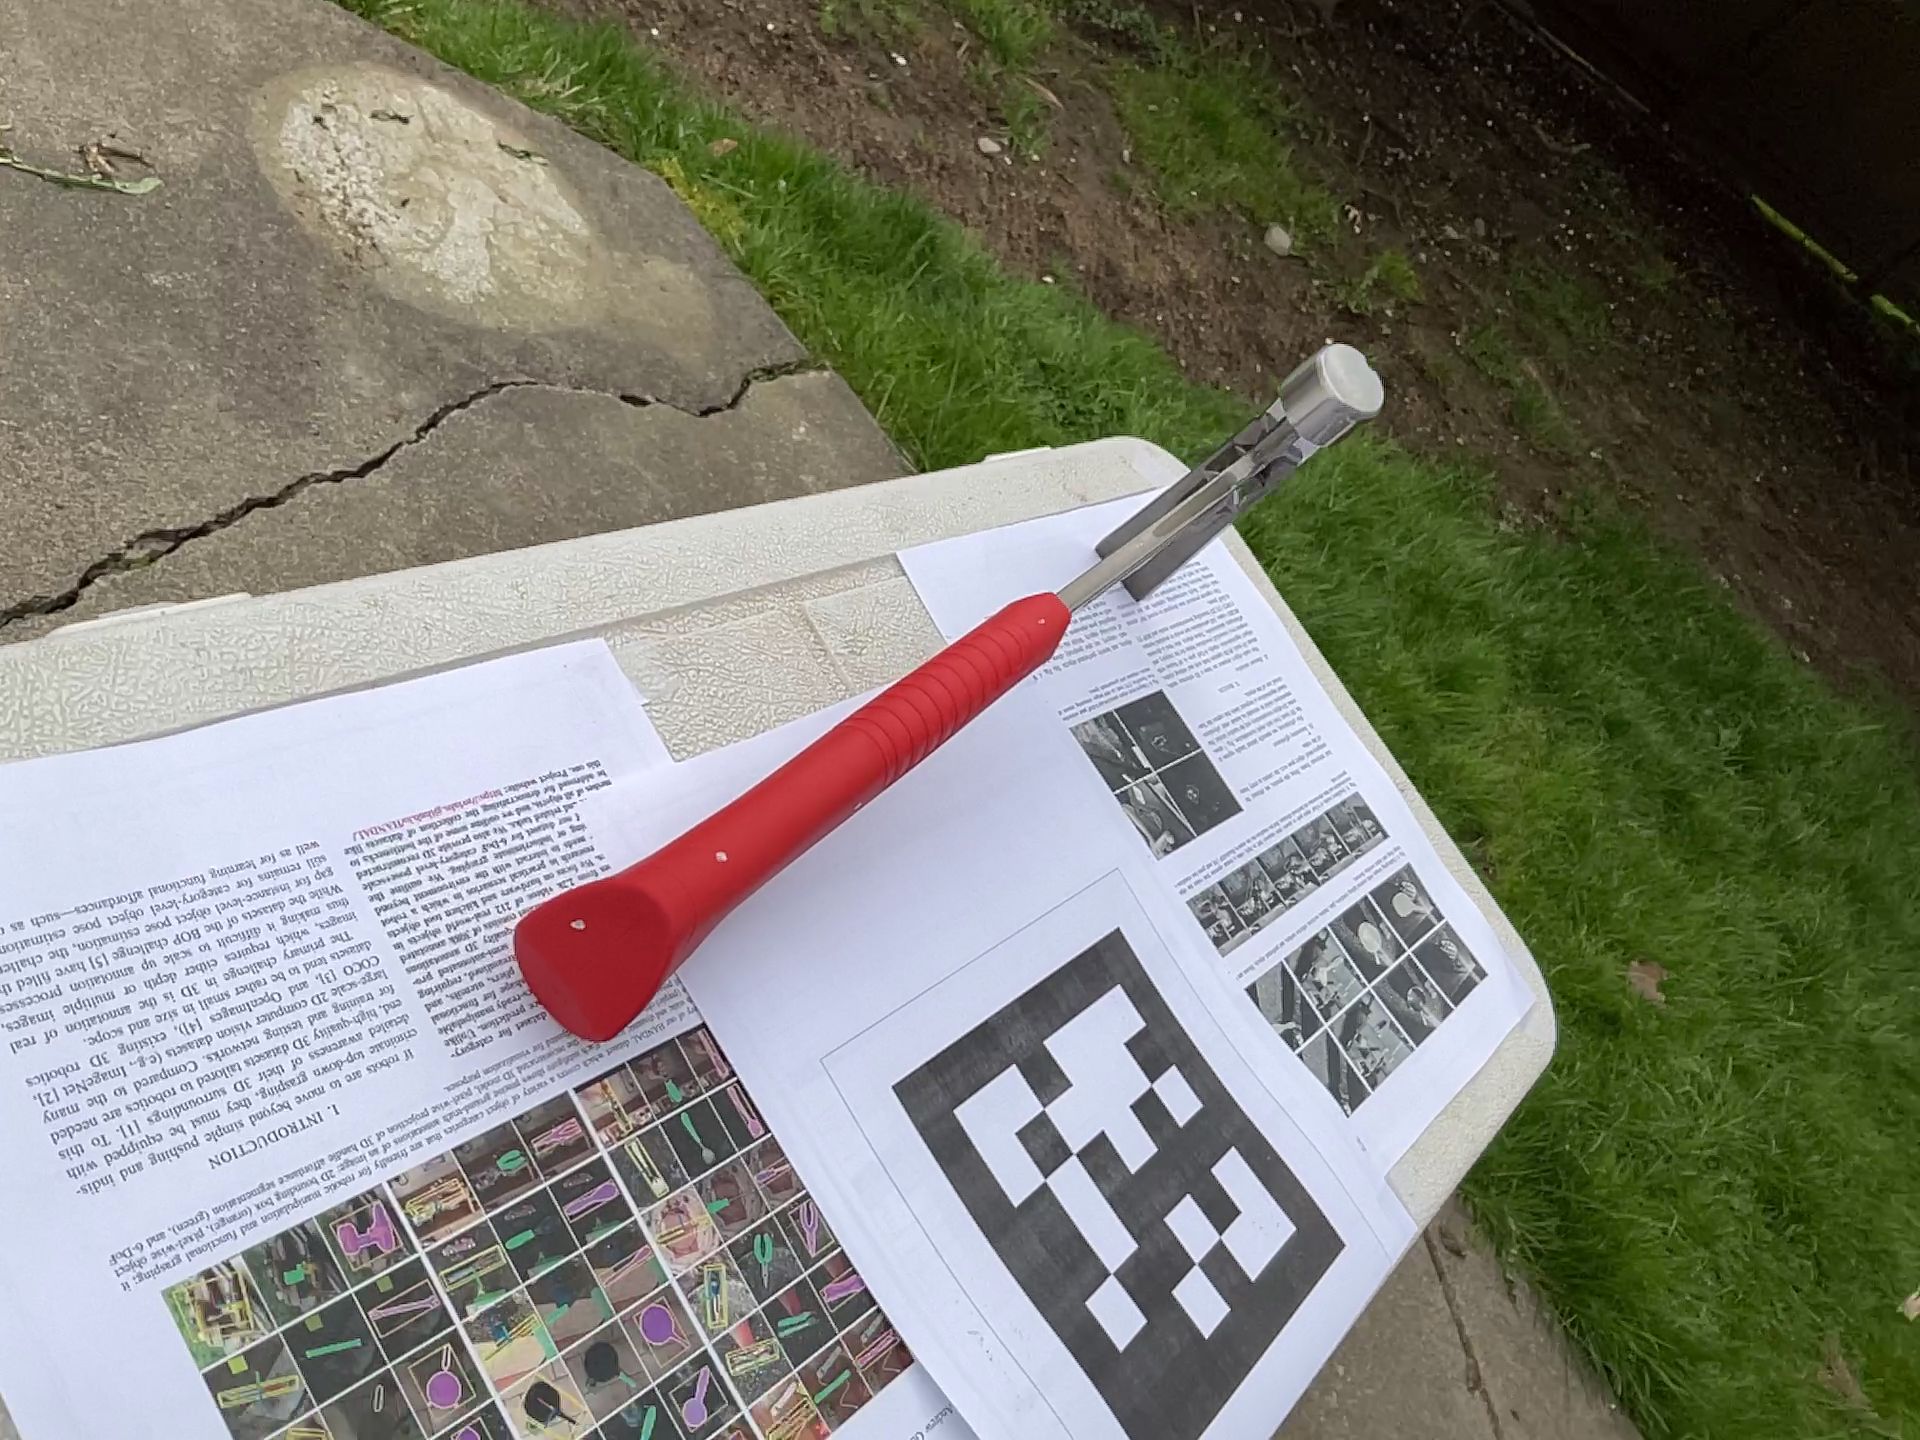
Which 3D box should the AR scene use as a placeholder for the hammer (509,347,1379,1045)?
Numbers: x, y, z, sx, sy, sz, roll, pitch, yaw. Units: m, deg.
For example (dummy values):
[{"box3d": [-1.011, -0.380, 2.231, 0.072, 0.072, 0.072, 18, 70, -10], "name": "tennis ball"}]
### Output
[{"box3d": [0.003, -0.014, 0.511, 0.037, 0.149, 0.359, 52, 49, 1], "name": "hammer"}]
